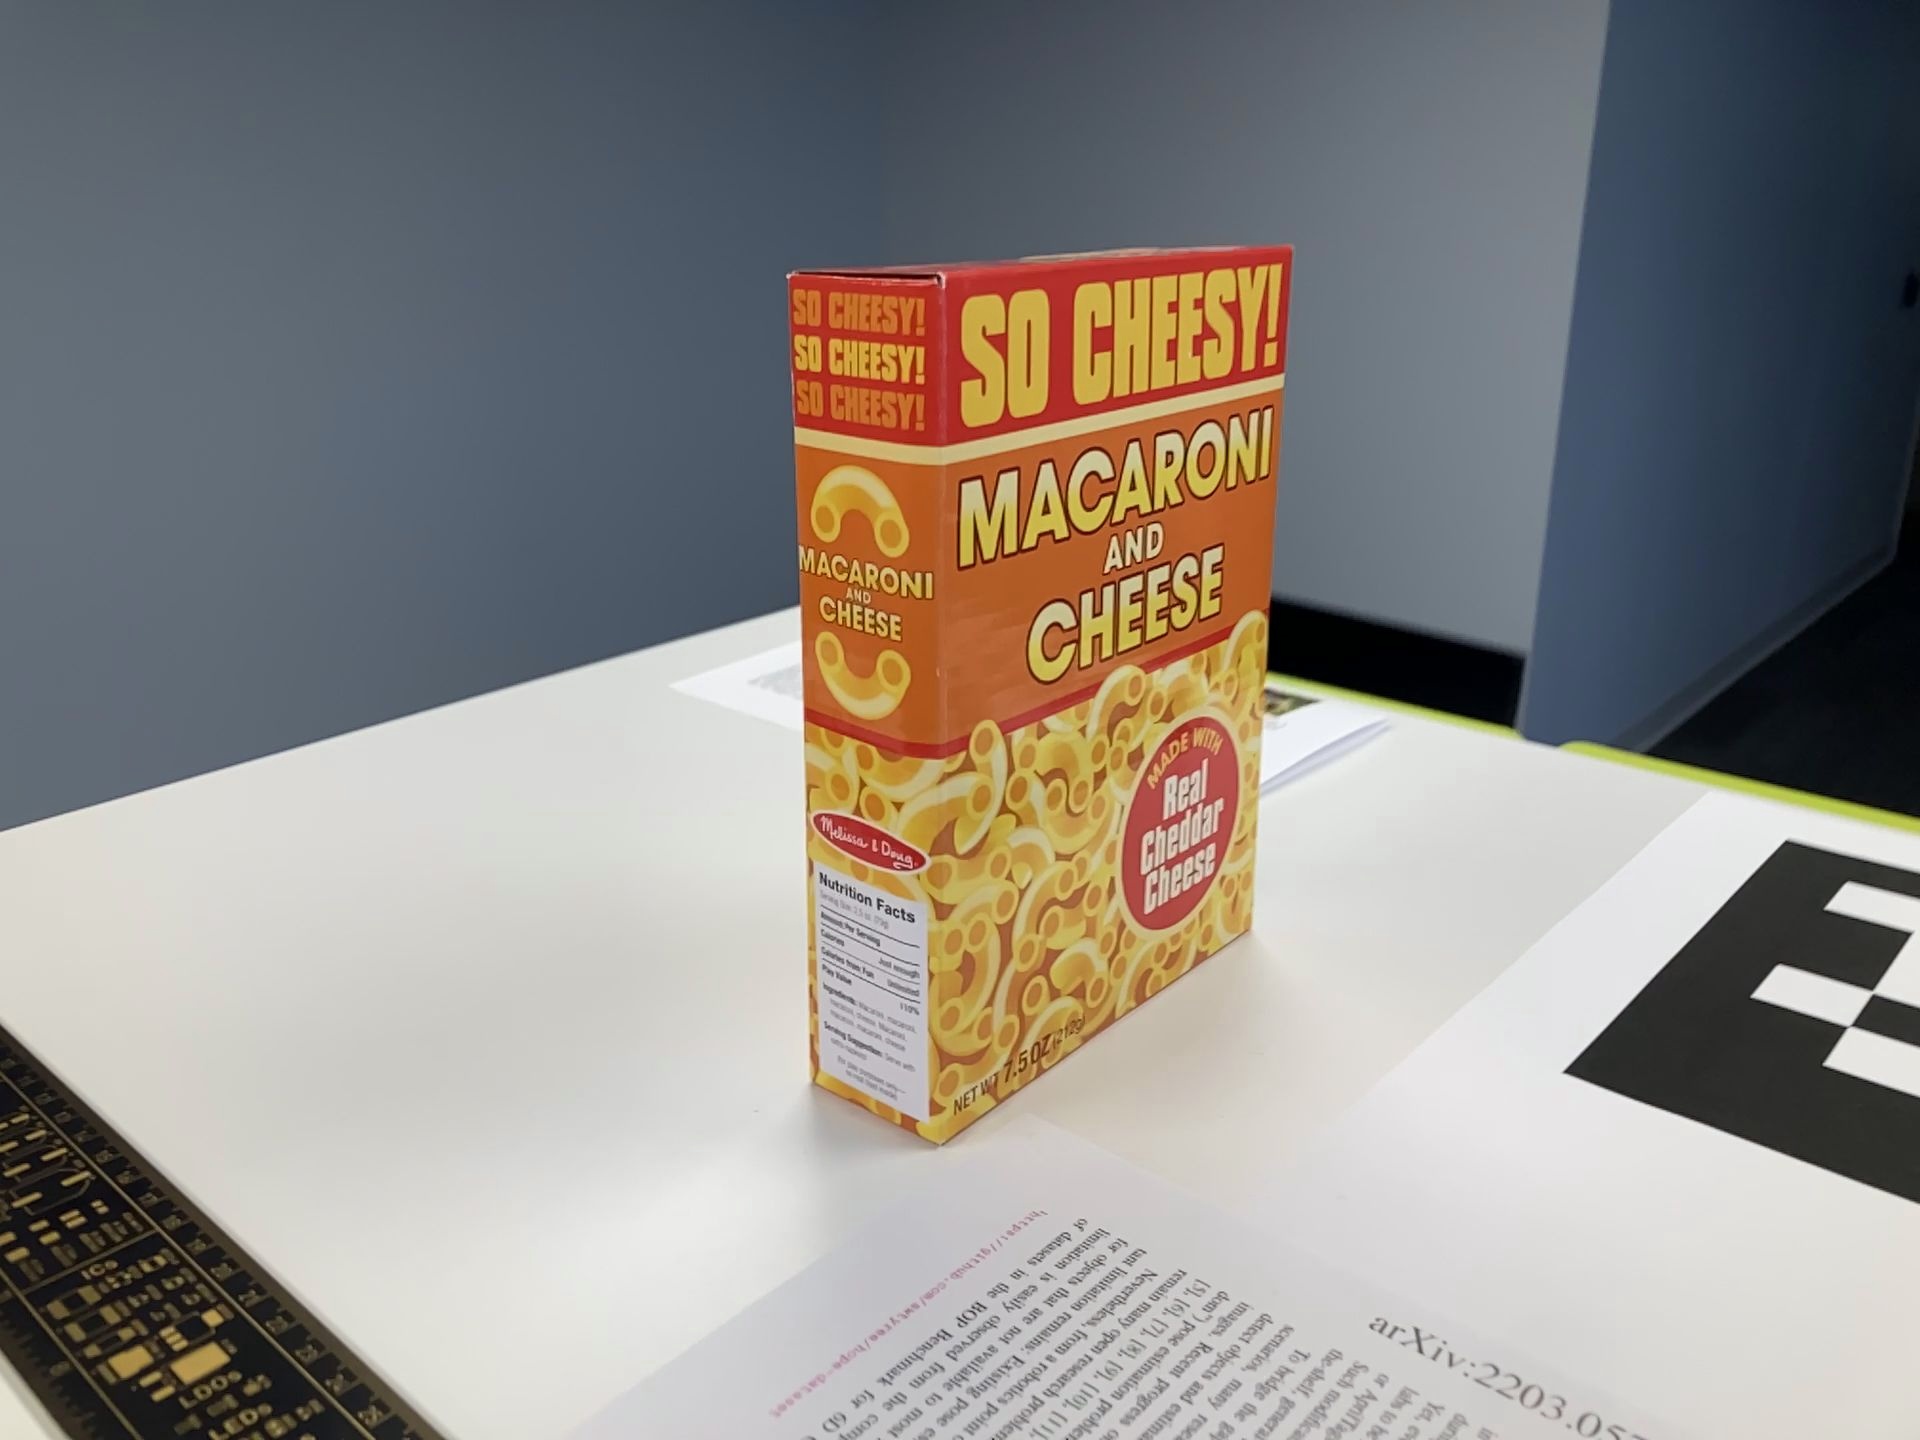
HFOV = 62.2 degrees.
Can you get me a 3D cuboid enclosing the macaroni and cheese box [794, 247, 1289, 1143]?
[{"bbox_3d":[0.020,-0.013,0.343,0.040,0.166,0.124,14,24,36],"label":"macaroni and cheese box"}]
